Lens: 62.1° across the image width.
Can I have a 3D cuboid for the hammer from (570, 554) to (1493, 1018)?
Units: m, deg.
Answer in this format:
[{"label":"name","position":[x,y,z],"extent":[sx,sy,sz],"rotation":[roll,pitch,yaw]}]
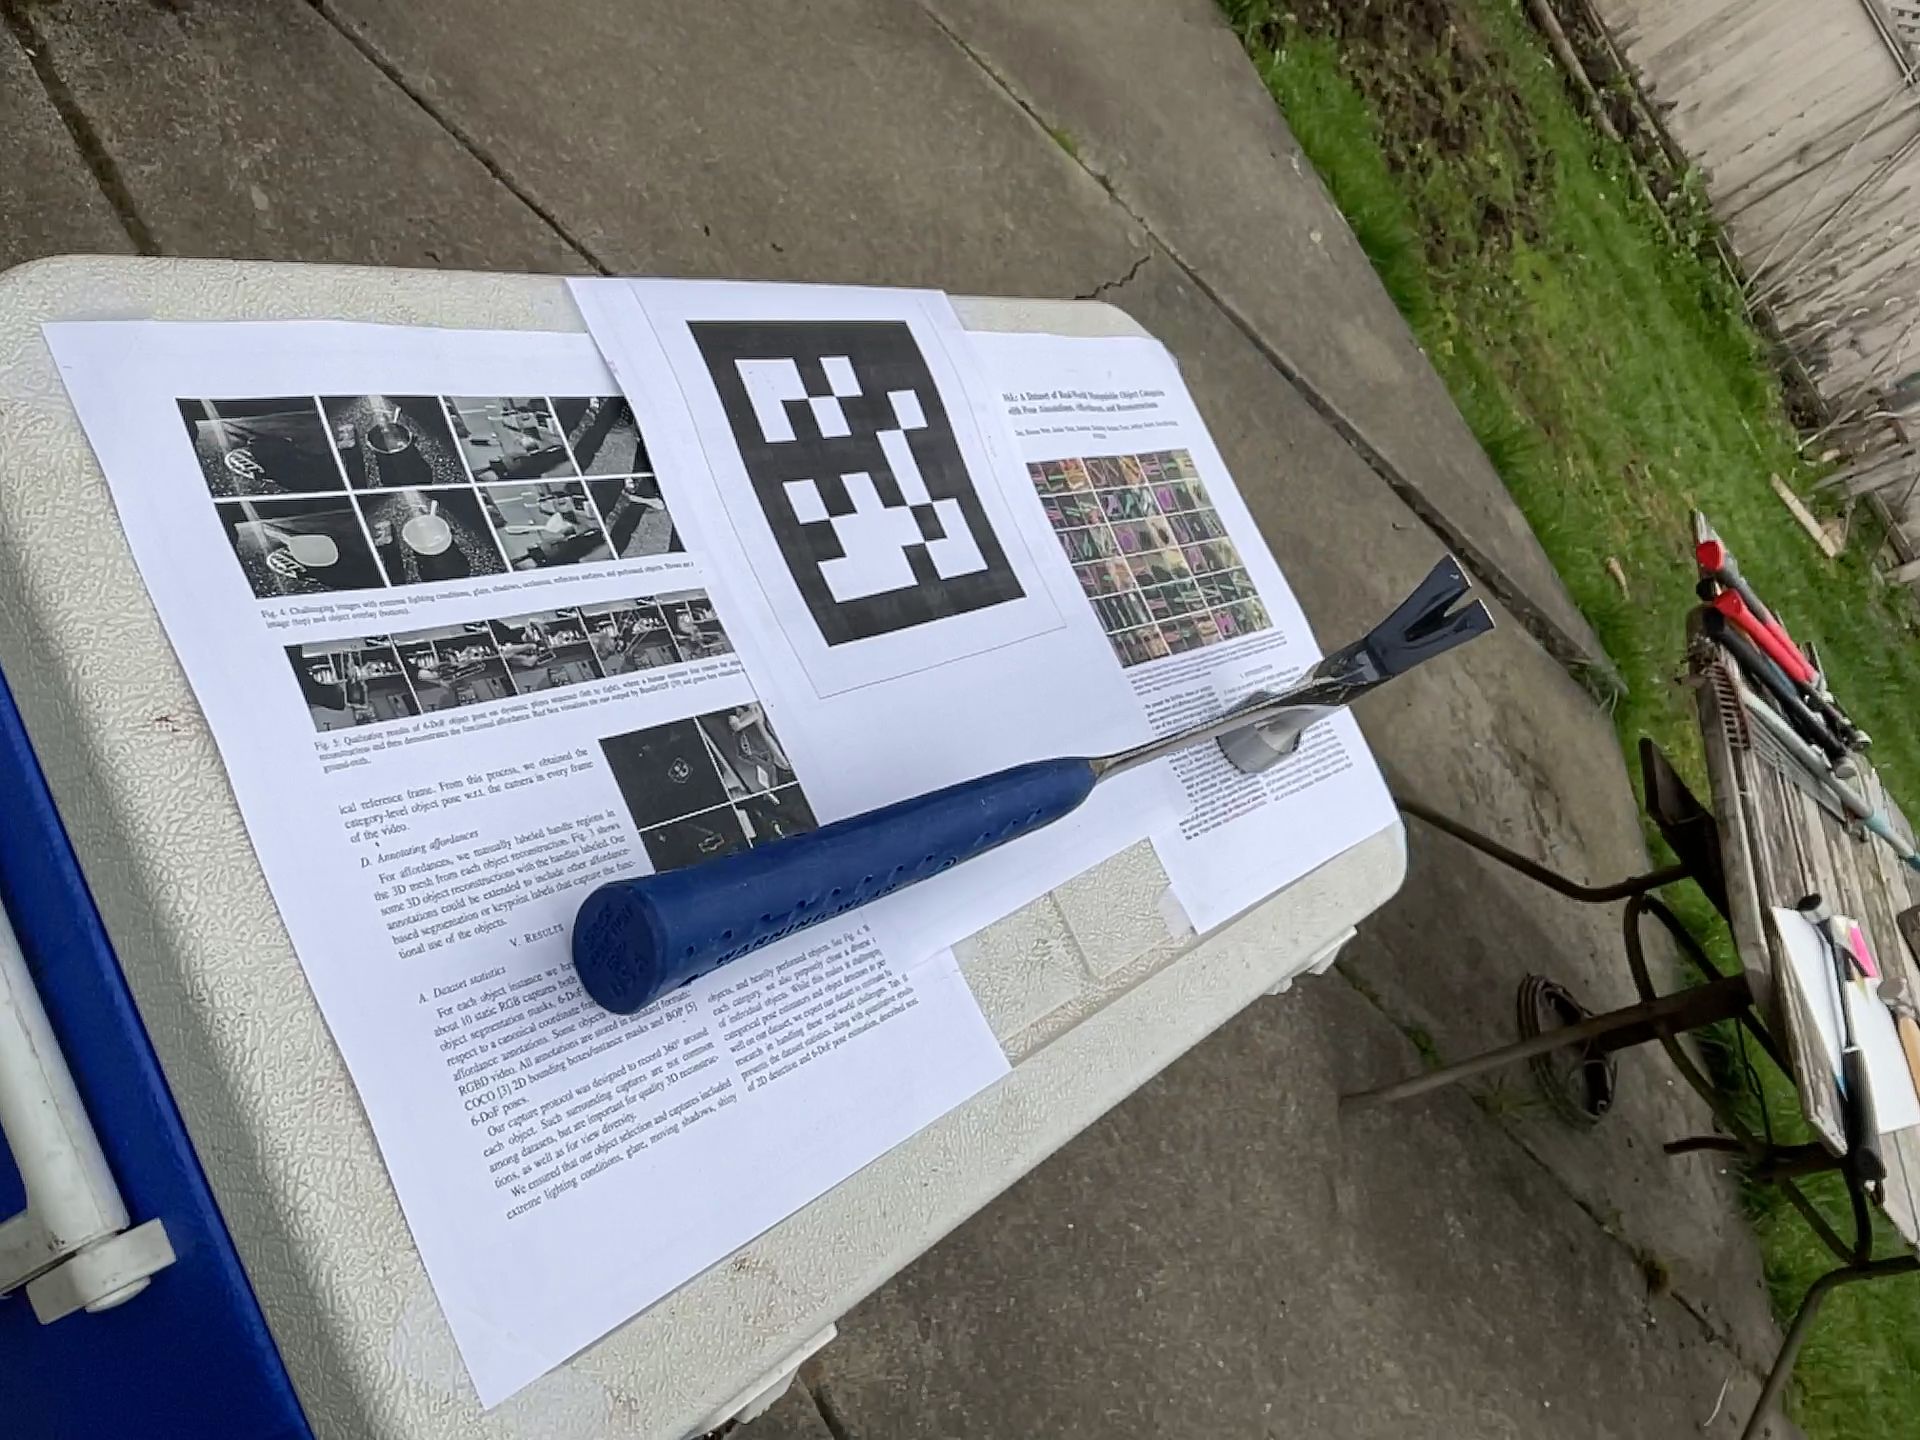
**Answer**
[{"label":"hammer","position":[0.047,0.016,0.557],"extent":[0.405,0.144,0.035],"rotation":[-17,74,-46]}]
